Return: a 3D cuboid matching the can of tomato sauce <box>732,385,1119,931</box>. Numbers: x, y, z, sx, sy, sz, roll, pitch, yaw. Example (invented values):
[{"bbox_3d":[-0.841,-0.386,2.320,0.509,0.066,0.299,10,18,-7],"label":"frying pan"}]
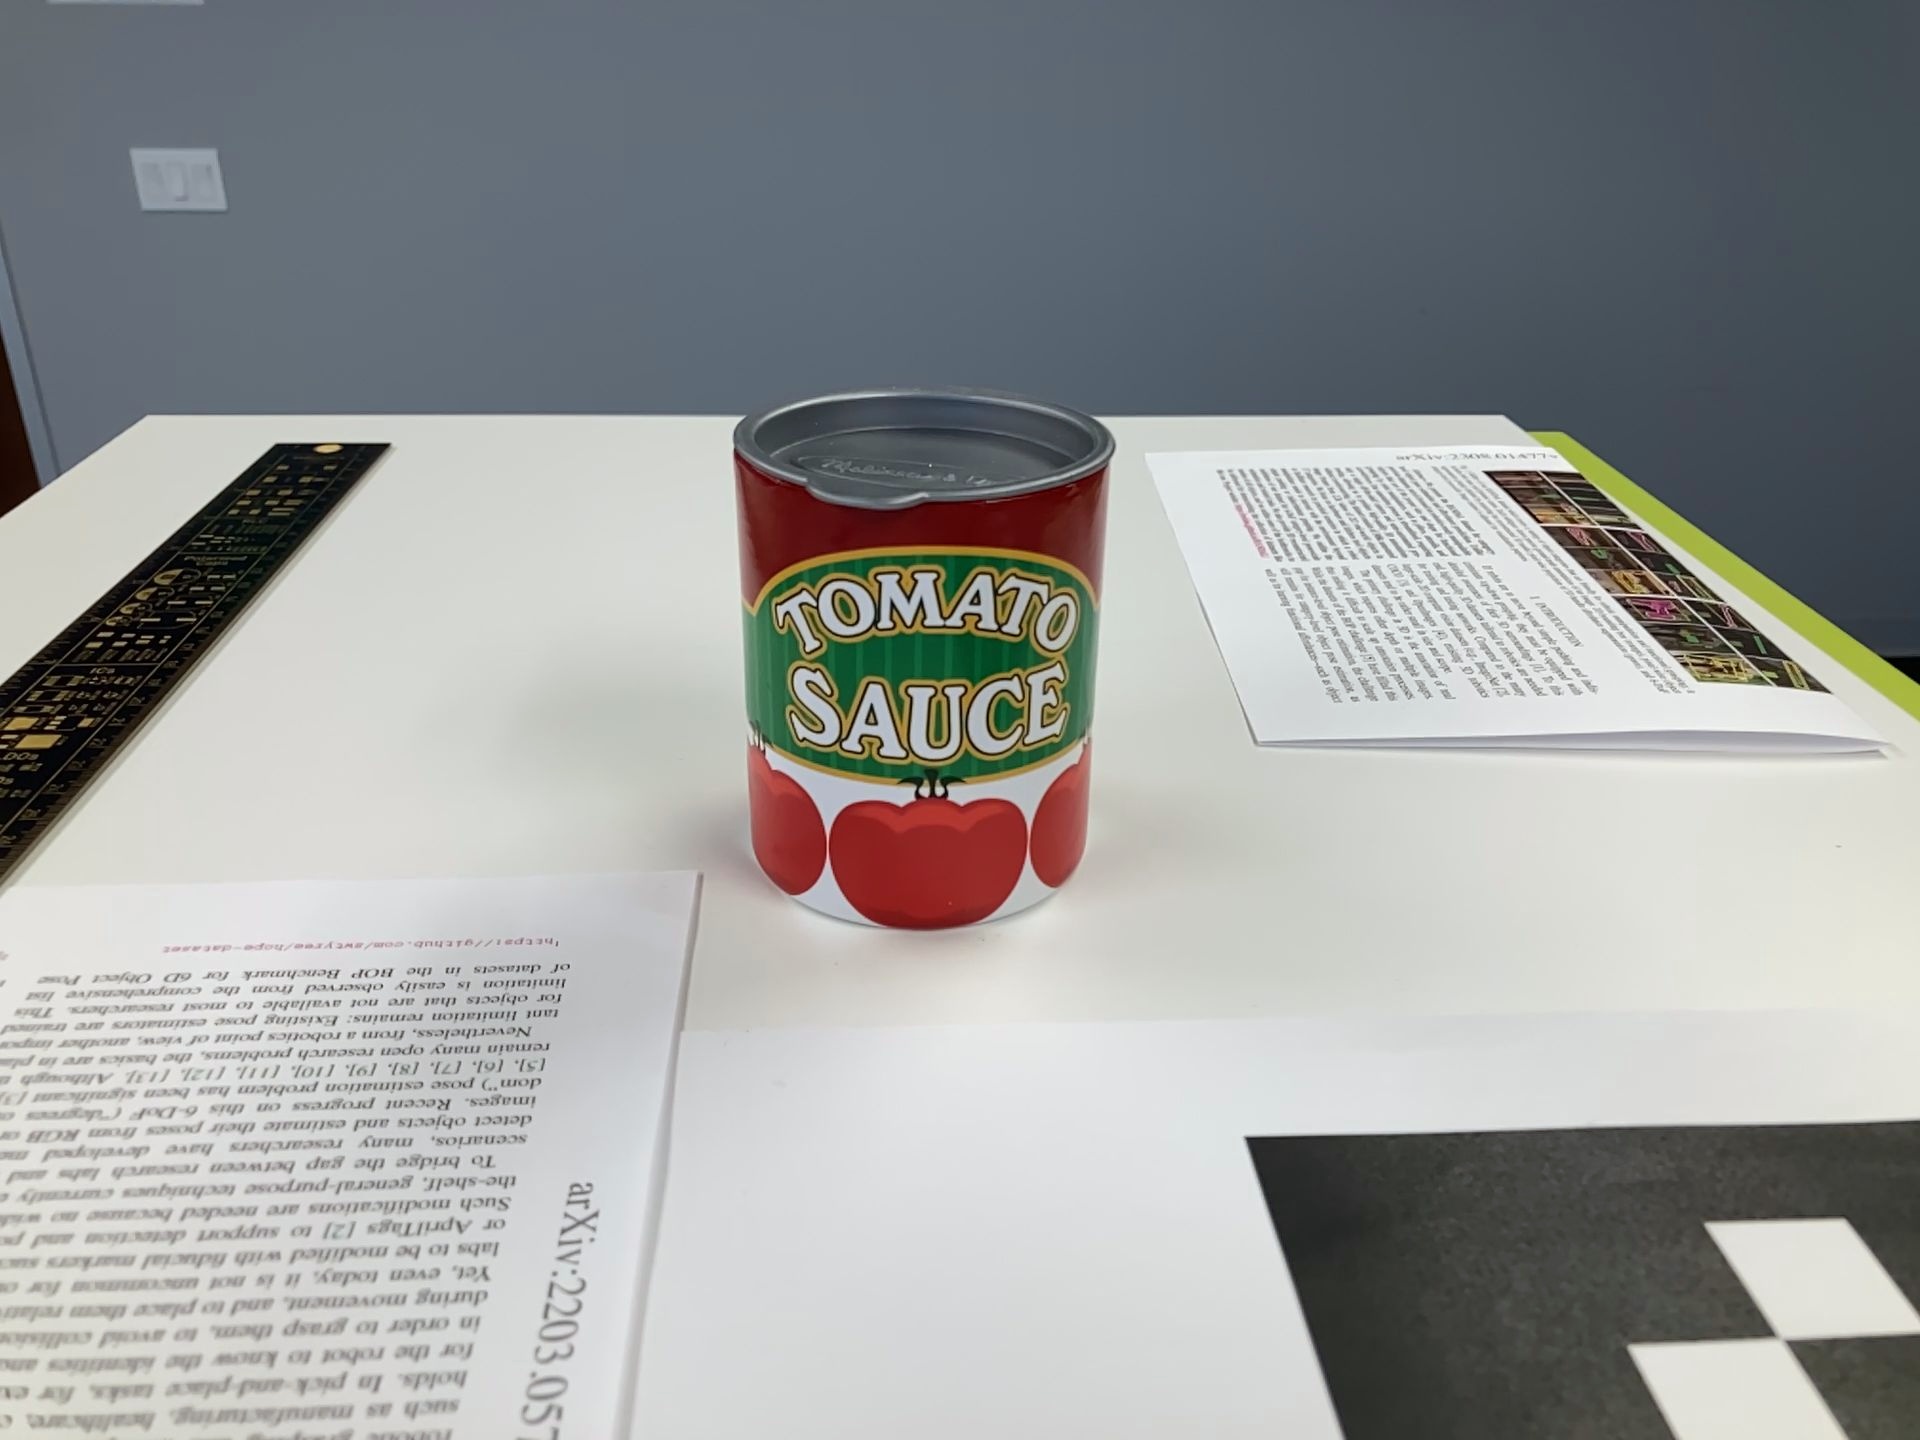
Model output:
[{"bbox_3d":[-0.007,-0.012,0.291,0.071,0.083,0.071,1,26,0],"label":"can of tomato sauce"}]
